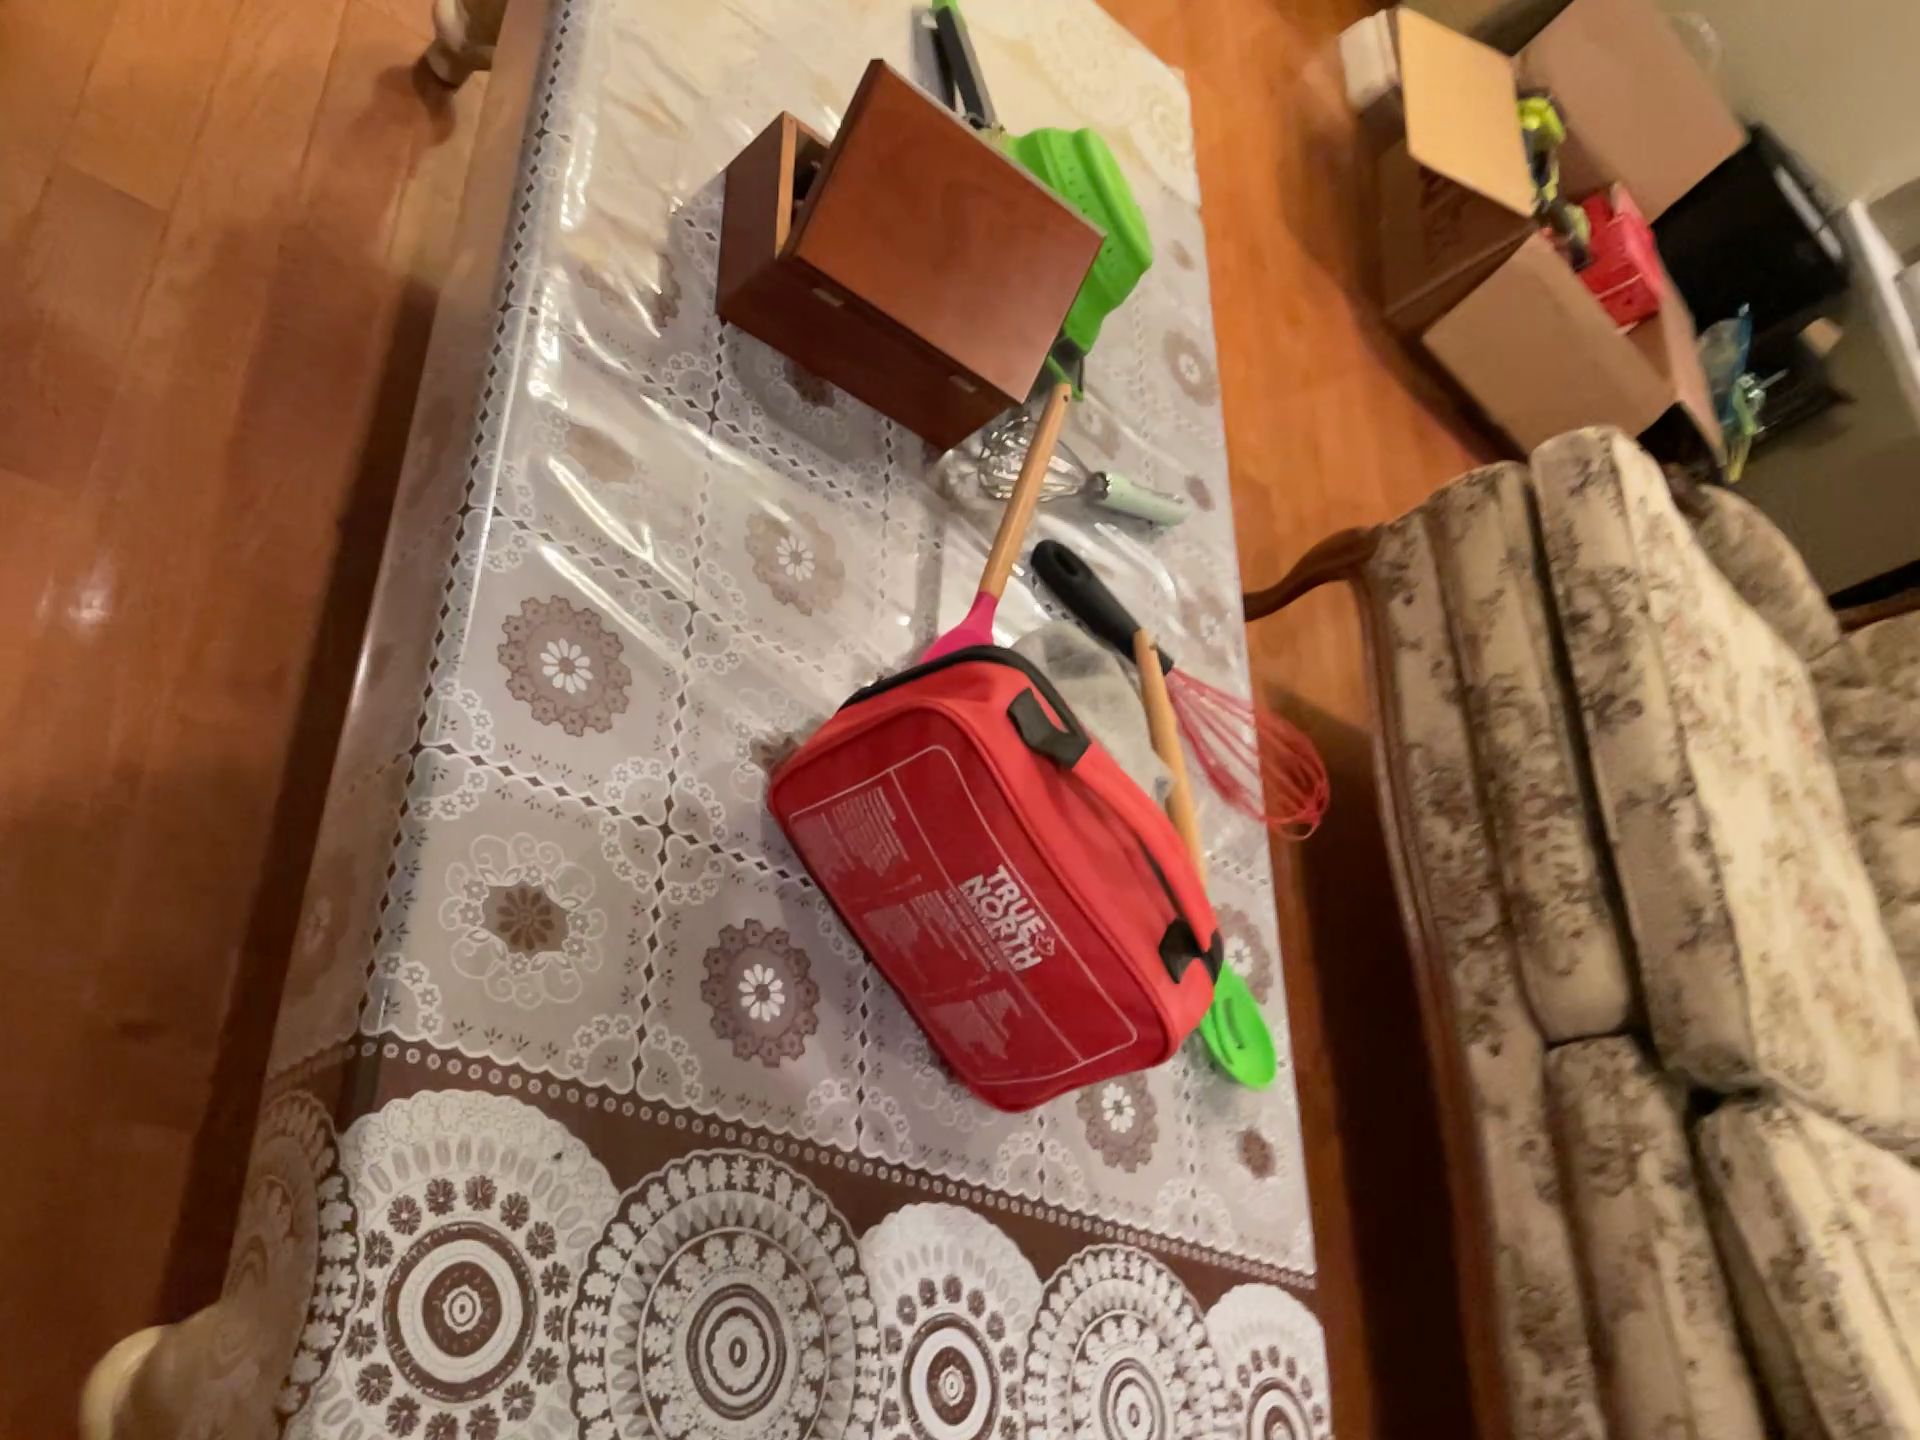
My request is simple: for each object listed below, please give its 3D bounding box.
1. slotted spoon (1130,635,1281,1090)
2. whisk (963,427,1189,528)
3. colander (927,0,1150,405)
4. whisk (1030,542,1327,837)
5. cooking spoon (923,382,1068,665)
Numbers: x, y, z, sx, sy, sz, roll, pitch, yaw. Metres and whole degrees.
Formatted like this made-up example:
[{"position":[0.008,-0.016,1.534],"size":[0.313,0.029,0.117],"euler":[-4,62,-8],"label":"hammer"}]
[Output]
[{"position":[0.155,0.091,1.062],"size":[0.070,0.031,0.314],"euler":[4,68,-46],"label":"slotted spoon"},{"position":[0.092,-0.168,1.158],"size":[0.246,0.059,0.058],"euler":[5,107,-48],"label":"whisk"},{"position":[0.057,-0.427,1.191],"size":[0.204,0.094,0.398],"euler":[36,35,-57],"label":"colander"},{"position":[0.158,-0.021,1.129],"size":[0.295,0.073,0.073],"euler":[43,49,-12],"label":"whisk"},{"position":[0.025,-0.095,1.011],"size":[0.068,0.017,0.319],"euler":[37,56,-30],"label":"cooking spoon"}]
